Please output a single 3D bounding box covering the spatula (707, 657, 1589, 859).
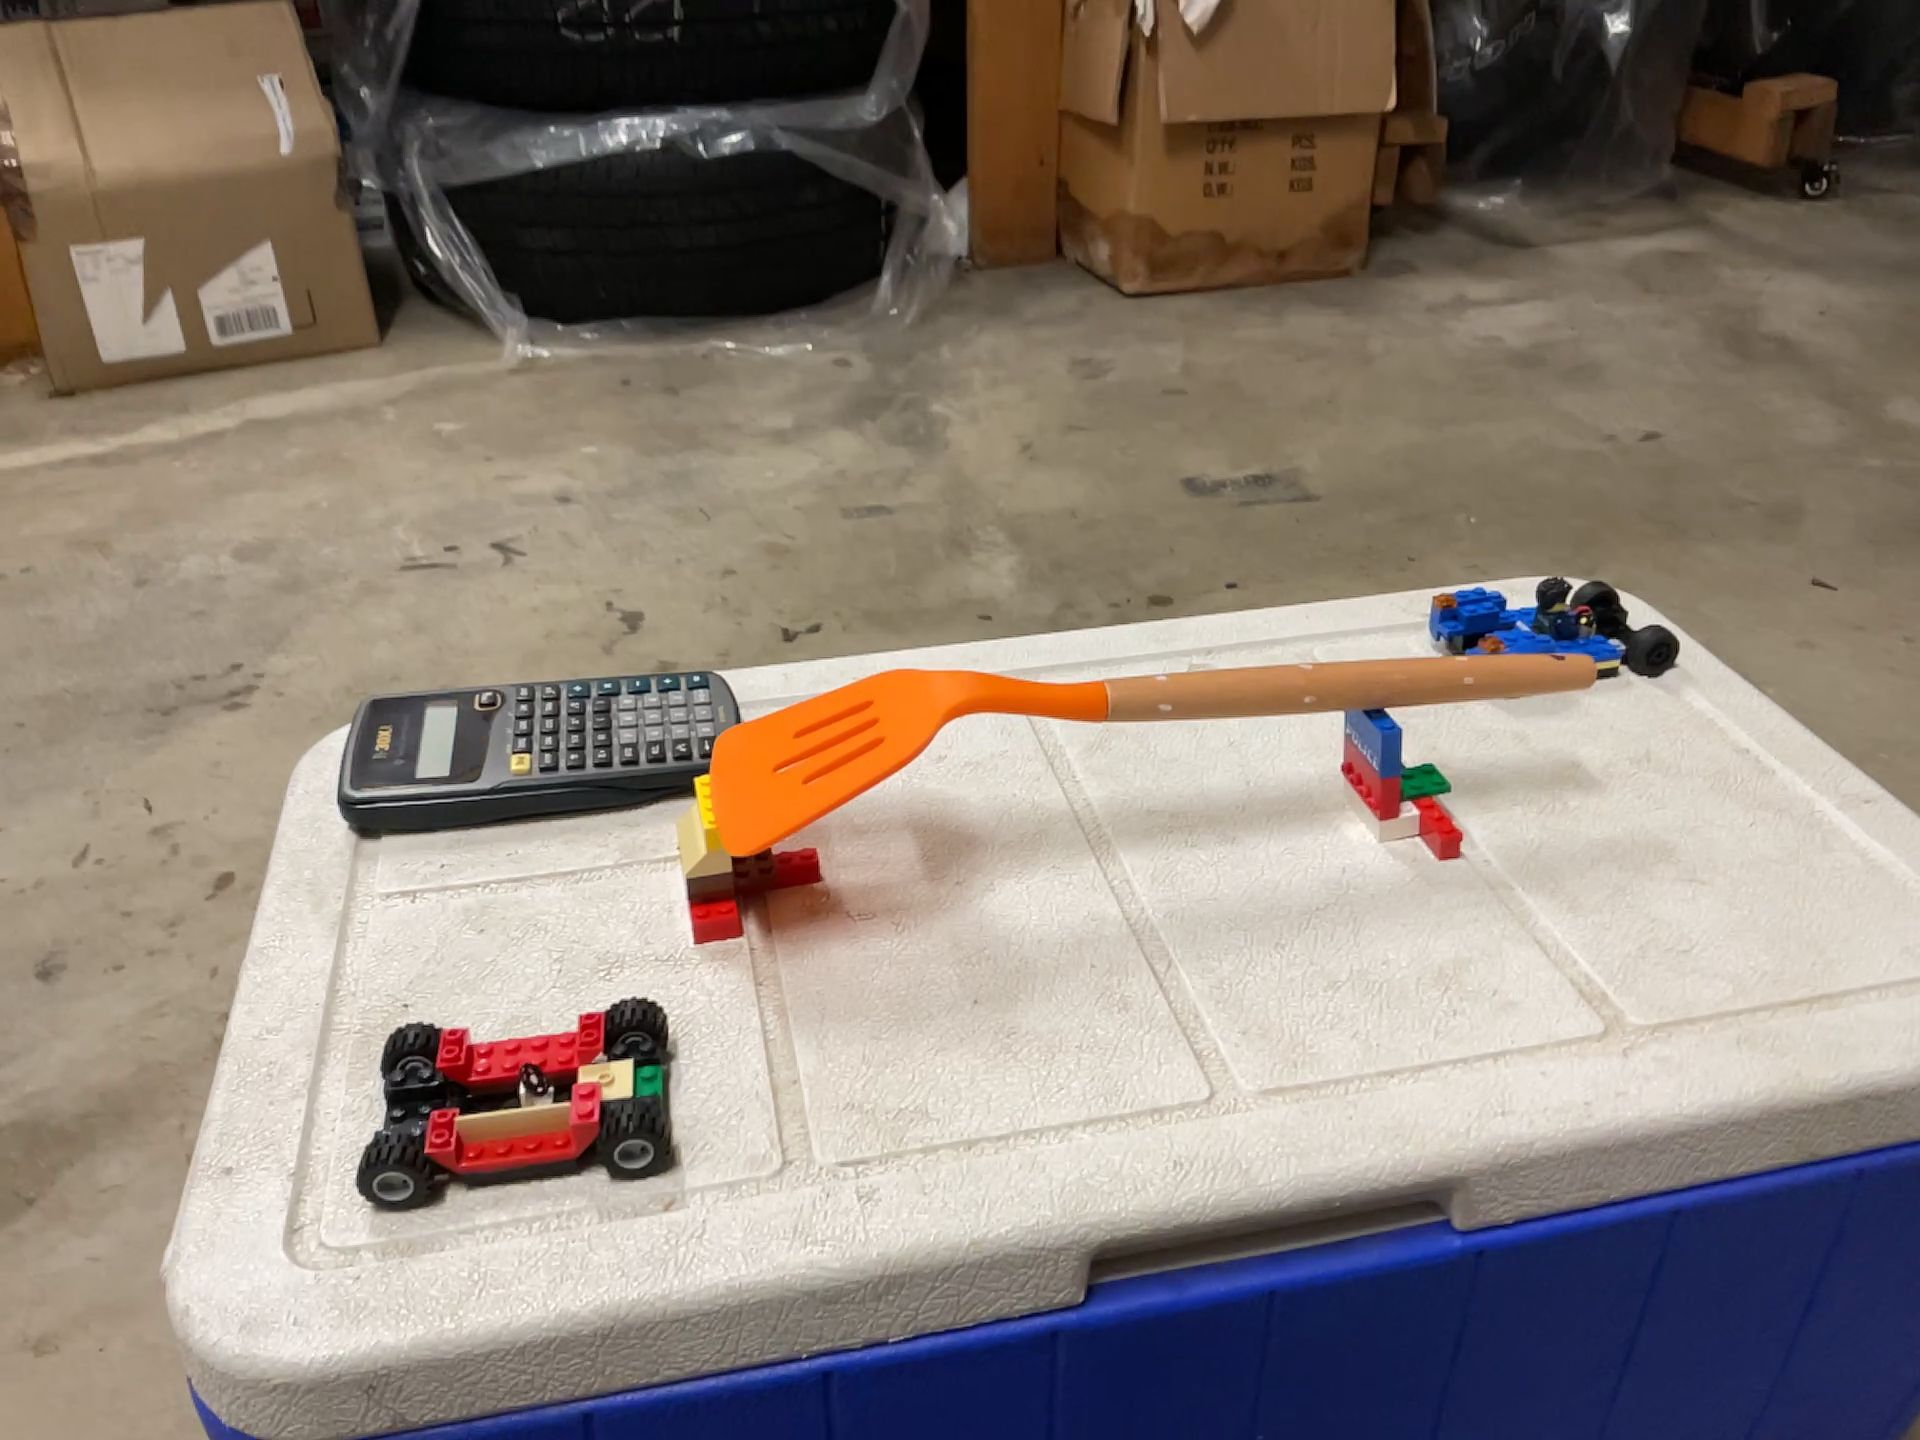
[{"bbox_3d":[0.072,0.000,0.568,0.322,0.041,0.081,-4,30,-11],"label":"spatula"}]
